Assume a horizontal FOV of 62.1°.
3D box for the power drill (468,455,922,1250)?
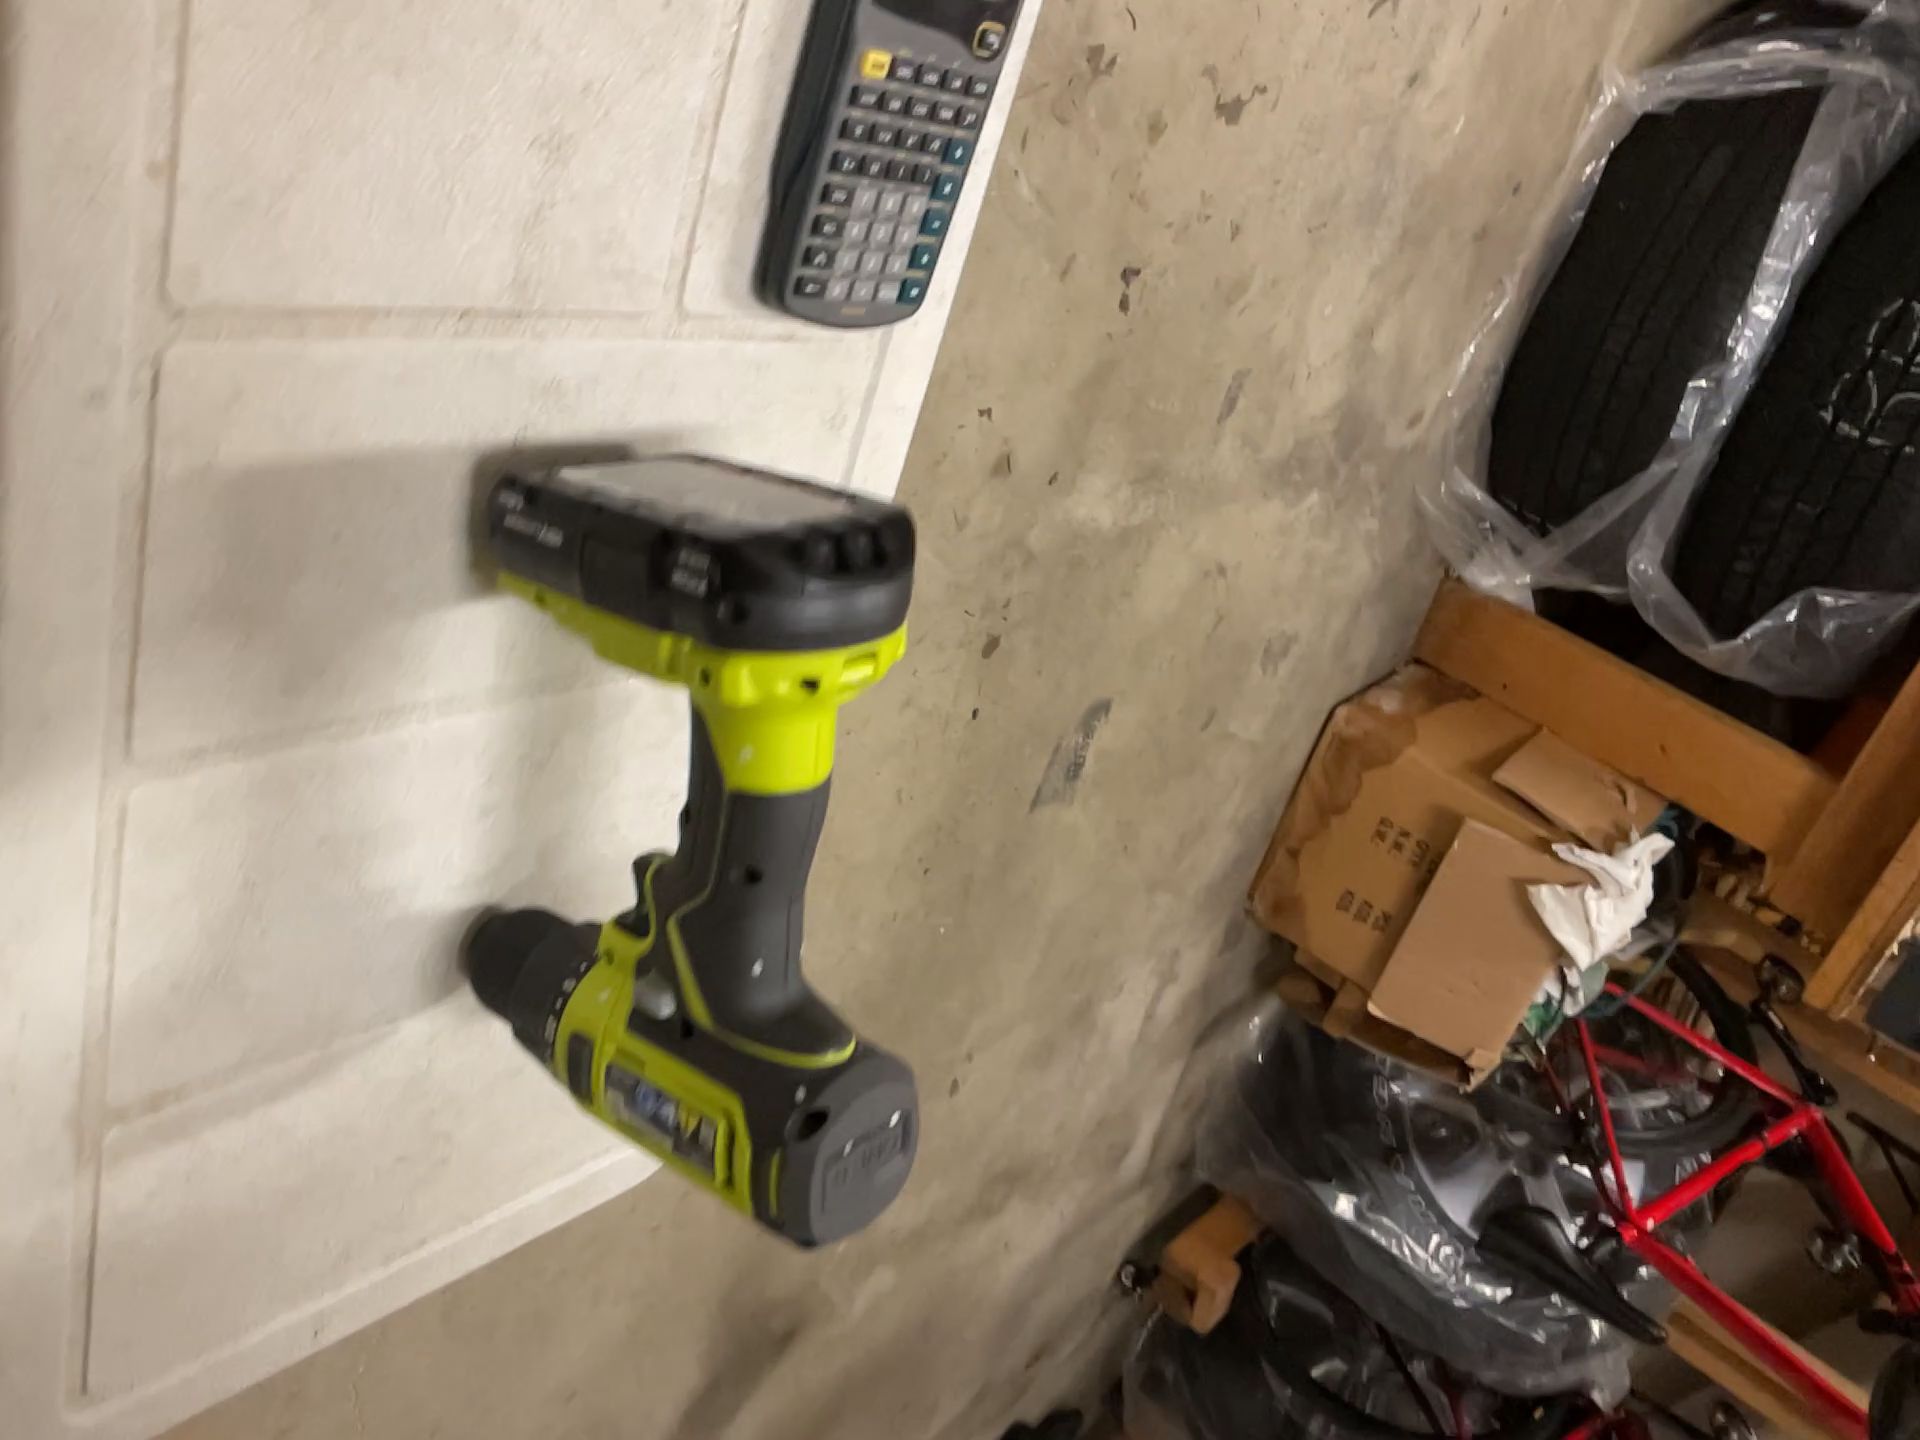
[{"bbox_3d":[-0.095,0.036,0.519,0.080,0.190,0.228,-19,121,-48],"label":"power drill"}]
